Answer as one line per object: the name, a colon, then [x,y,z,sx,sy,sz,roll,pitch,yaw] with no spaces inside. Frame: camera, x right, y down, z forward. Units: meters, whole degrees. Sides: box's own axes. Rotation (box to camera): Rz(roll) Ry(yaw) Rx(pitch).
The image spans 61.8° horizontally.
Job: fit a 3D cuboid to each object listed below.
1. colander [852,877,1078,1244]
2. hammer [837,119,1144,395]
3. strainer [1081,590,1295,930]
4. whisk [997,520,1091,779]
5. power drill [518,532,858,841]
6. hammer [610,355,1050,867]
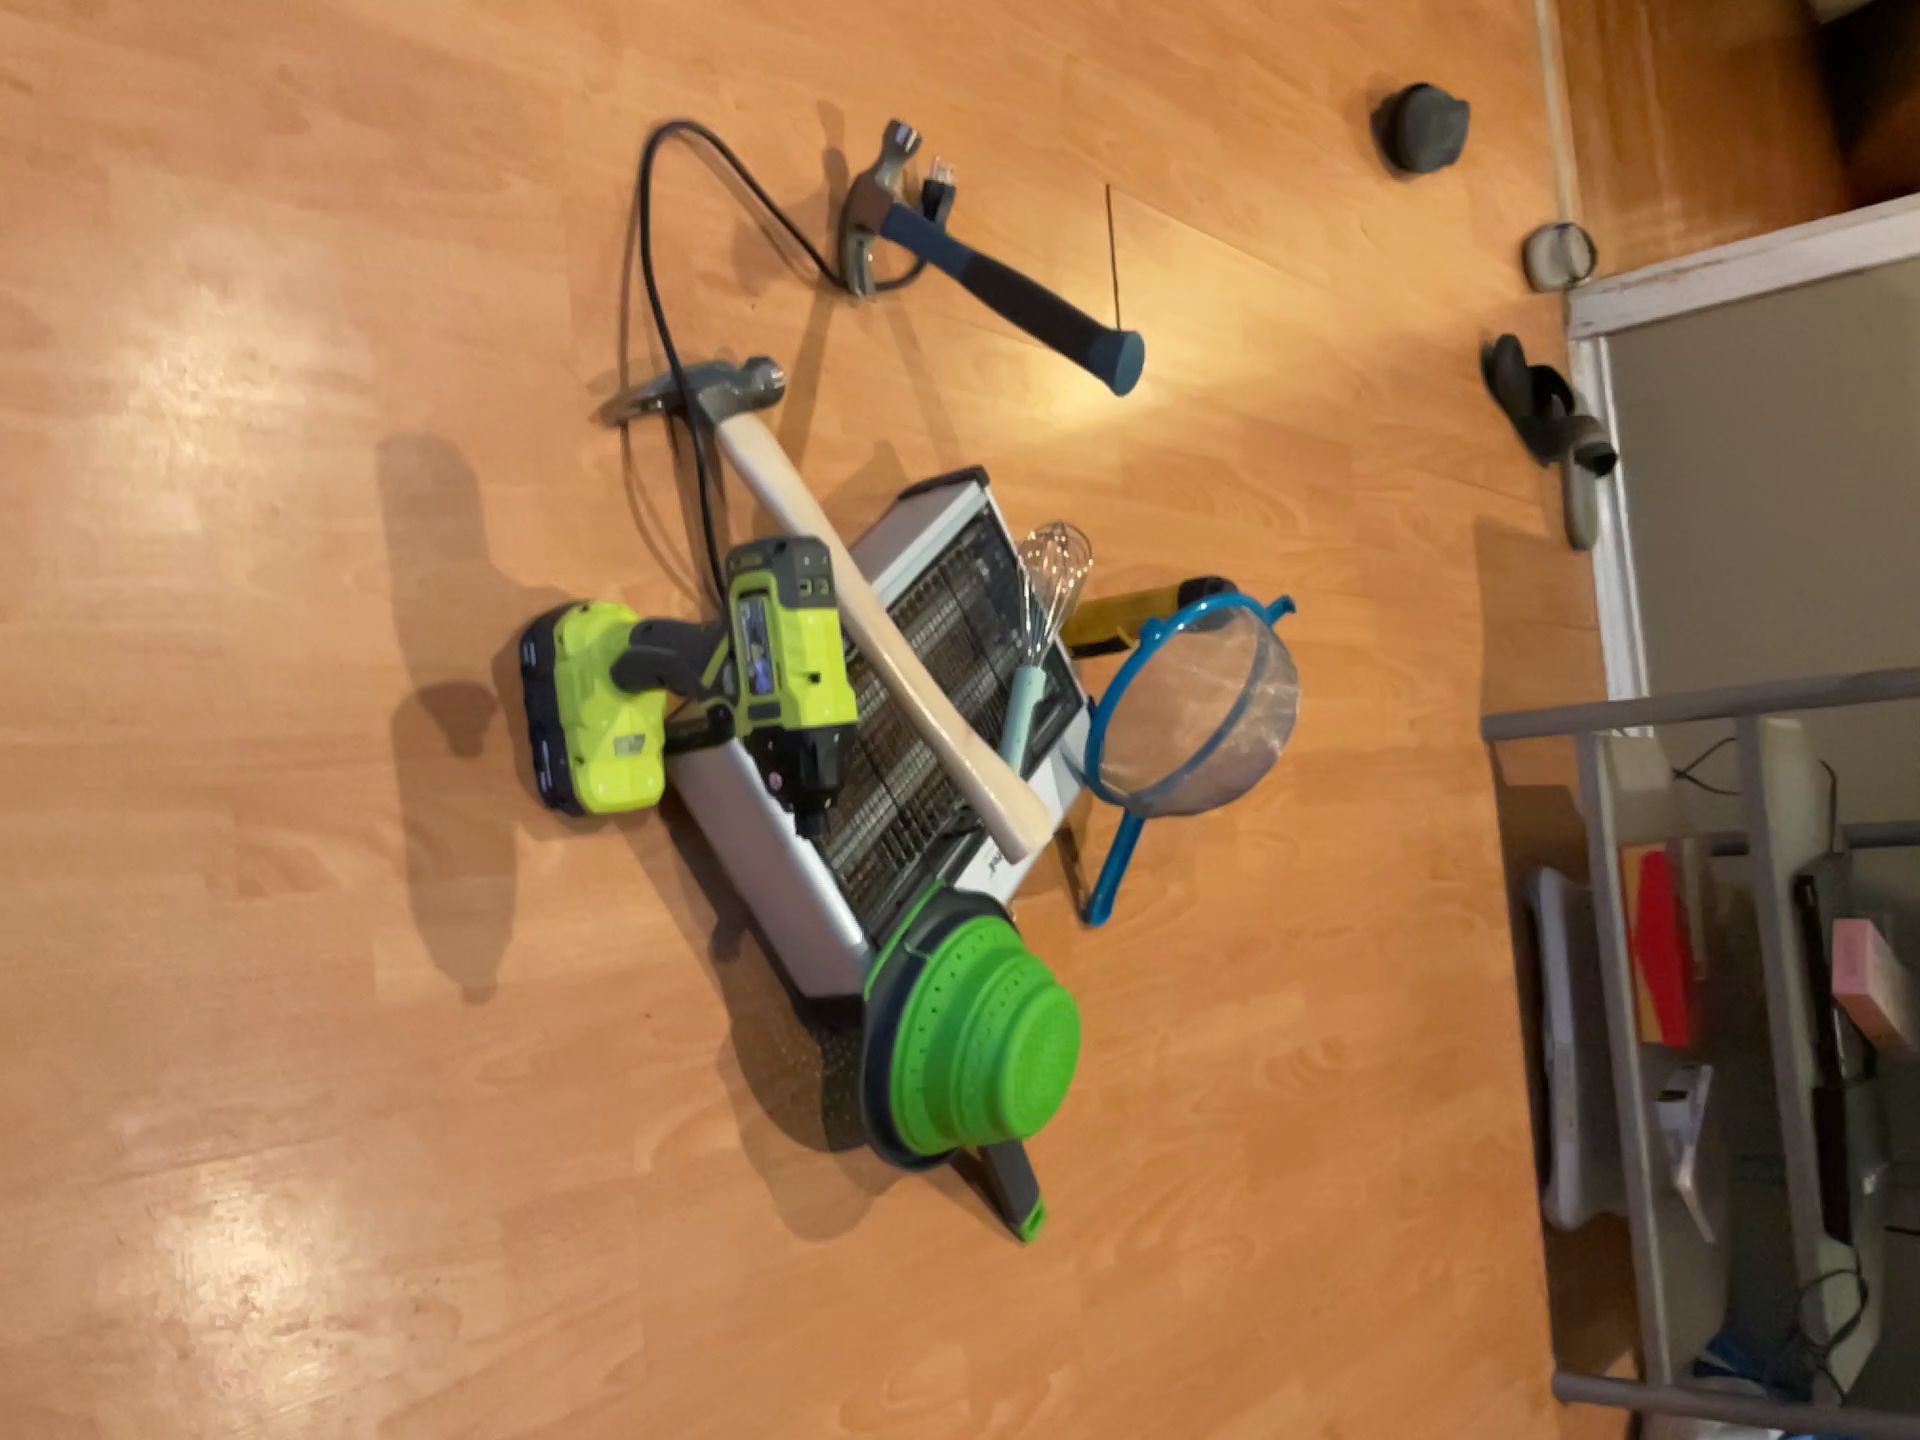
colander: [0.040,0.287,1.189,0.205,0.094,0.396,-54,141,-34]
hammer: [0.018,-0.332,1.192,0.033,0.331,0.128,11,115,-51]
strainer: [0.190,0.060,1.351,0.211,0.095,0.340,-11,129,-42]
whisk: [0.057,-0.046,1.251,0.057,0.059,0.246,68,32,-67]
power drill: [-0.159,-0.009,0.955,0.080,0.223,0.171,-7,90,-52]
hammer: [-0.076,-0.072,1.100,0.410,0.038,0.146,55,39,4]
